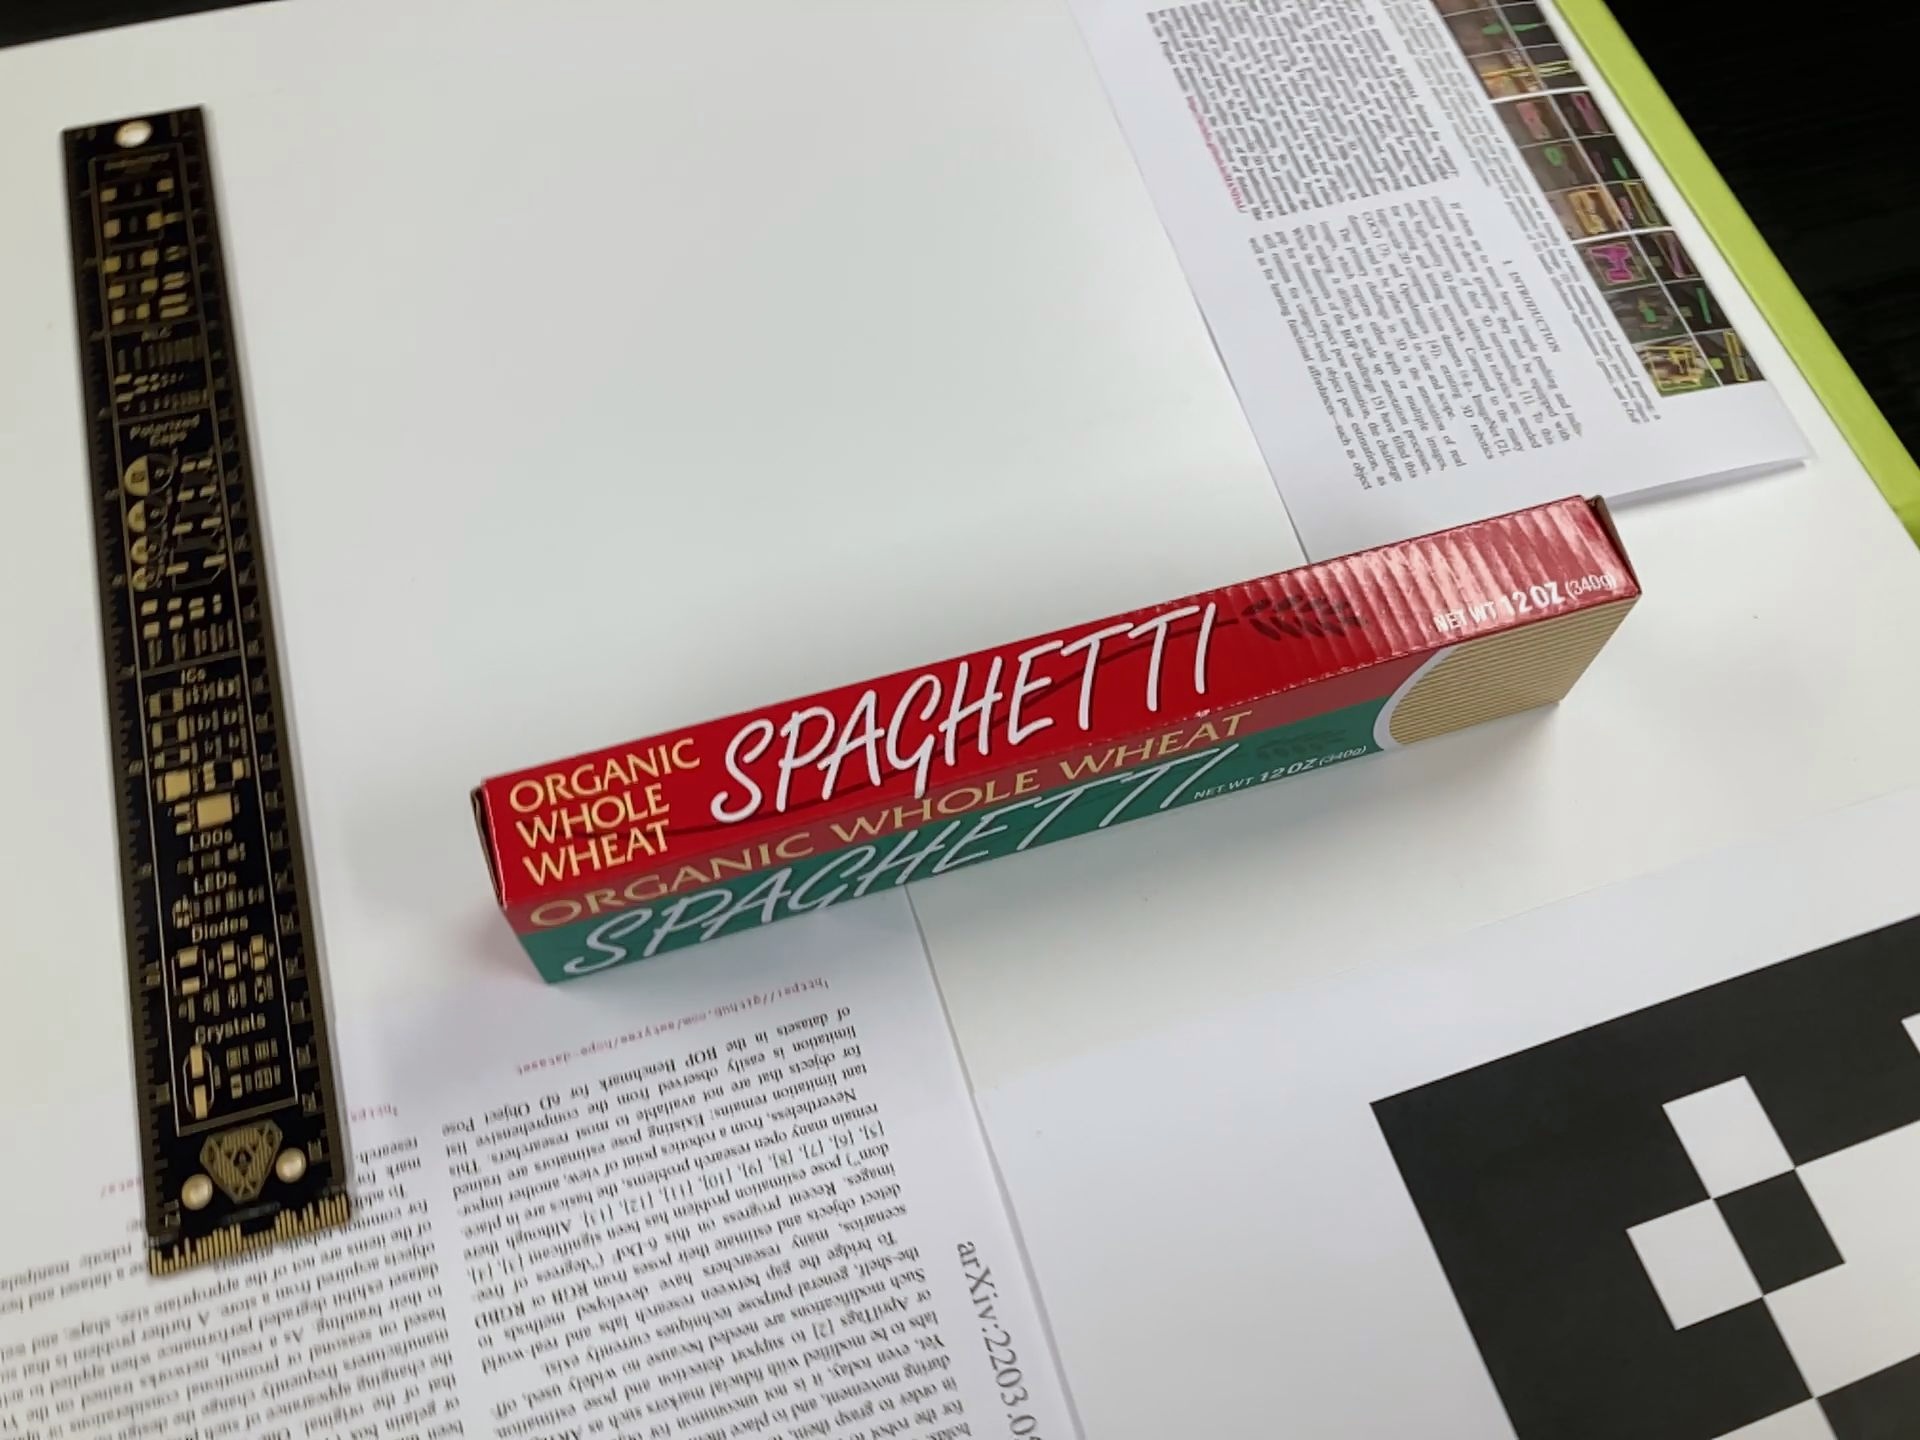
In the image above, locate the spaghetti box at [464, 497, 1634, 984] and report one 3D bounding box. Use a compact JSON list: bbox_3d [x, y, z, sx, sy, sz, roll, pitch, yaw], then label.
[{"bbox_3d":[0.024,0.004,0.349,0.250,0.050,0.028,-15,63,-10],"label":"spaghetti box"}]
